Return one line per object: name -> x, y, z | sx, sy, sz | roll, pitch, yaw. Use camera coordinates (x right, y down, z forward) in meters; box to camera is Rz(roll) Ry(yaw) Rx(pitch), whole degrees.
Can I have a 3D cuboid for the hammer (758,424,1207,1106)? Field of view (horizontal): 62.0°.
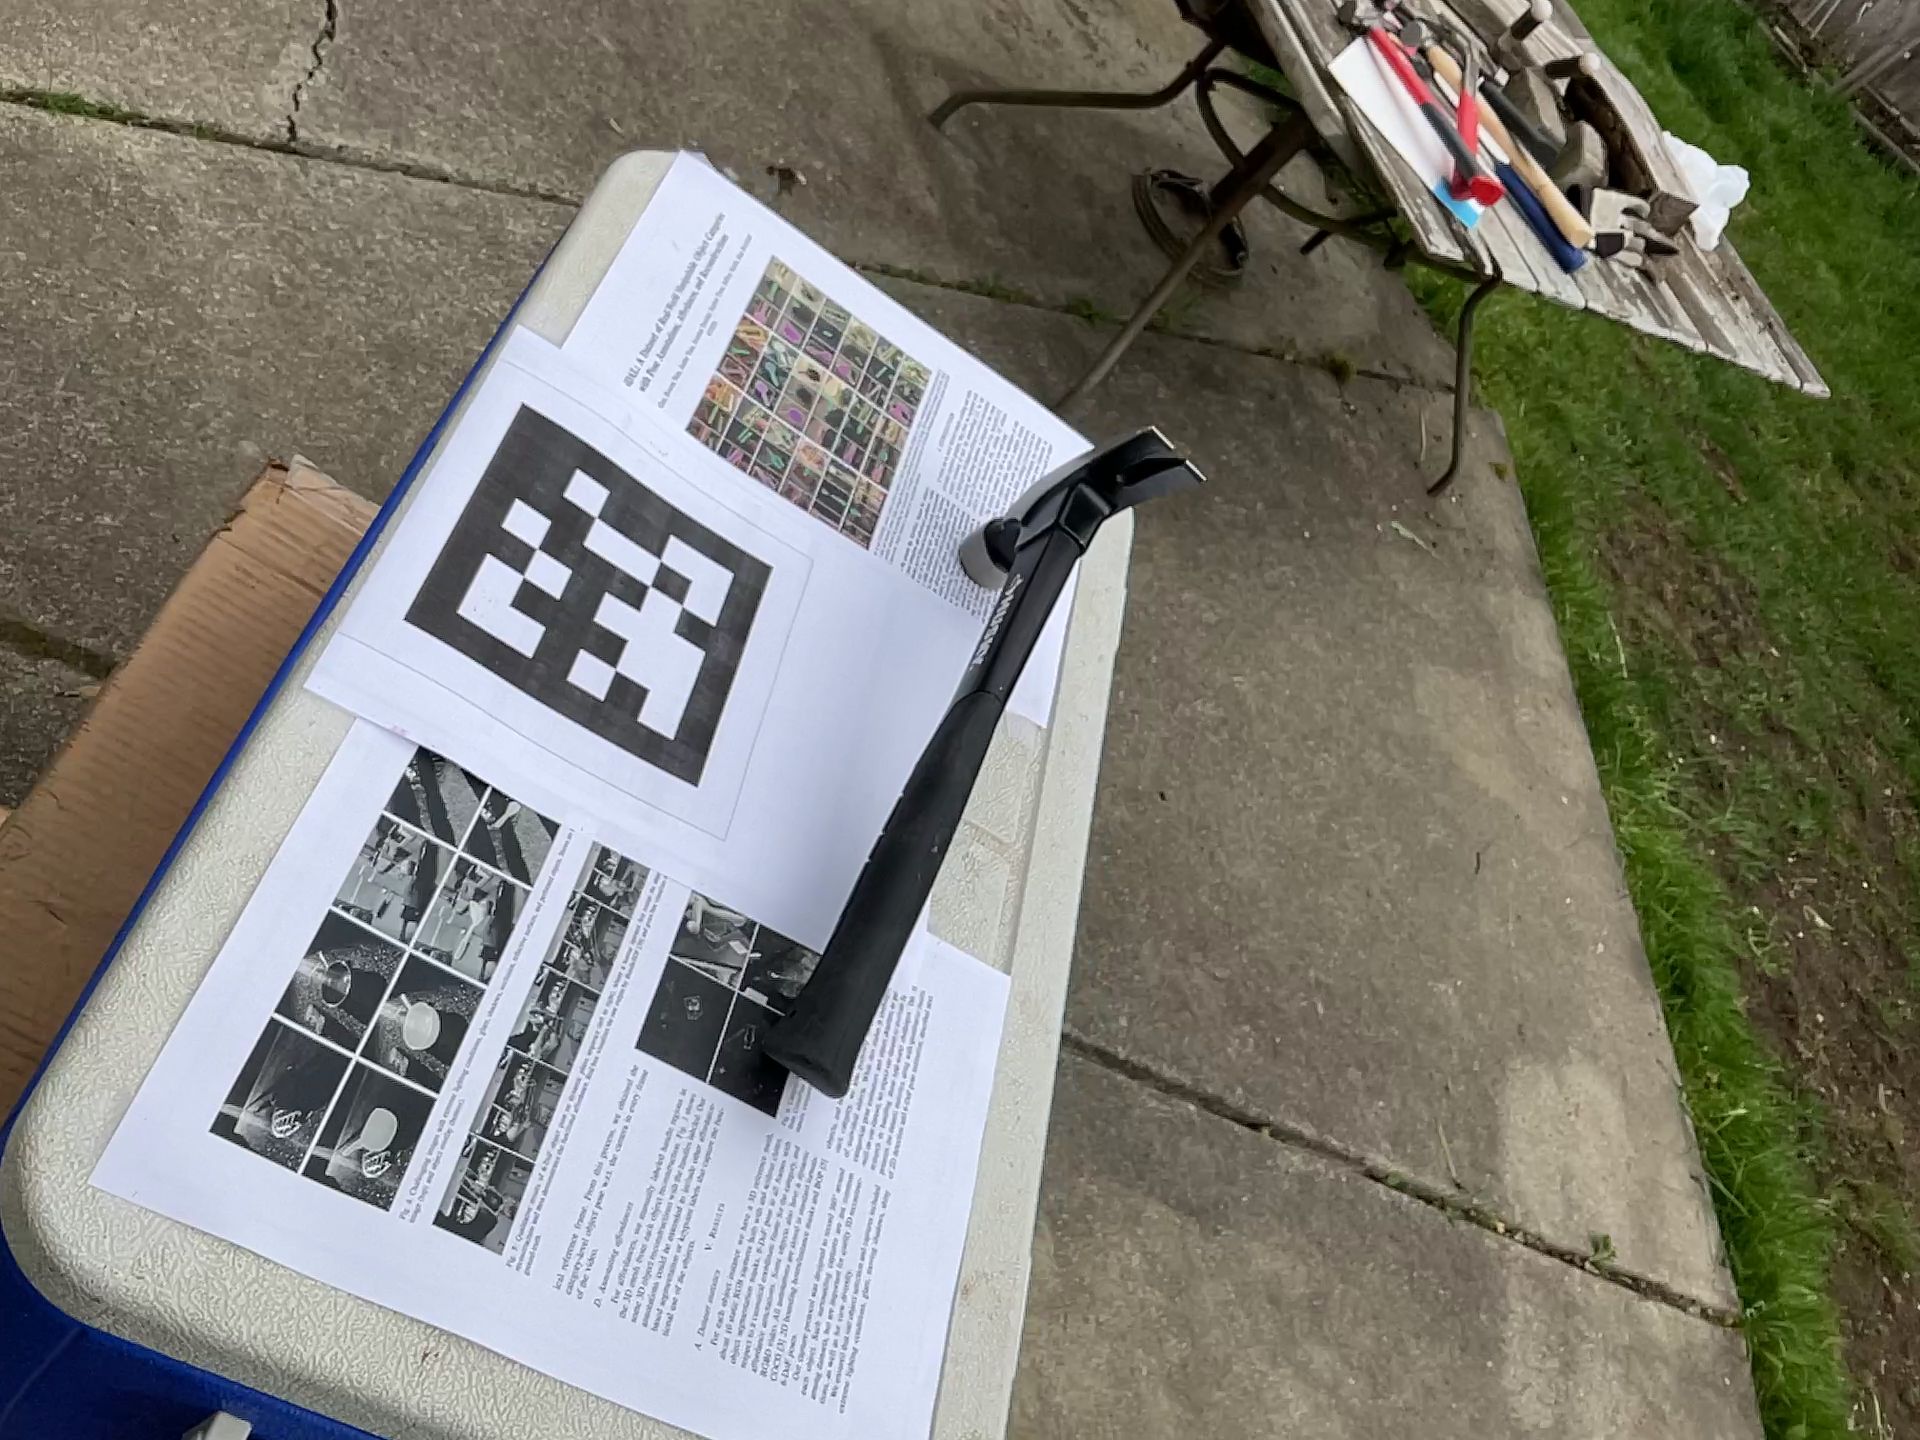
hammer -> 0.004, 0.007, 0.650 | 0.035, 0.146, 0.335 | 40, 51, -19
